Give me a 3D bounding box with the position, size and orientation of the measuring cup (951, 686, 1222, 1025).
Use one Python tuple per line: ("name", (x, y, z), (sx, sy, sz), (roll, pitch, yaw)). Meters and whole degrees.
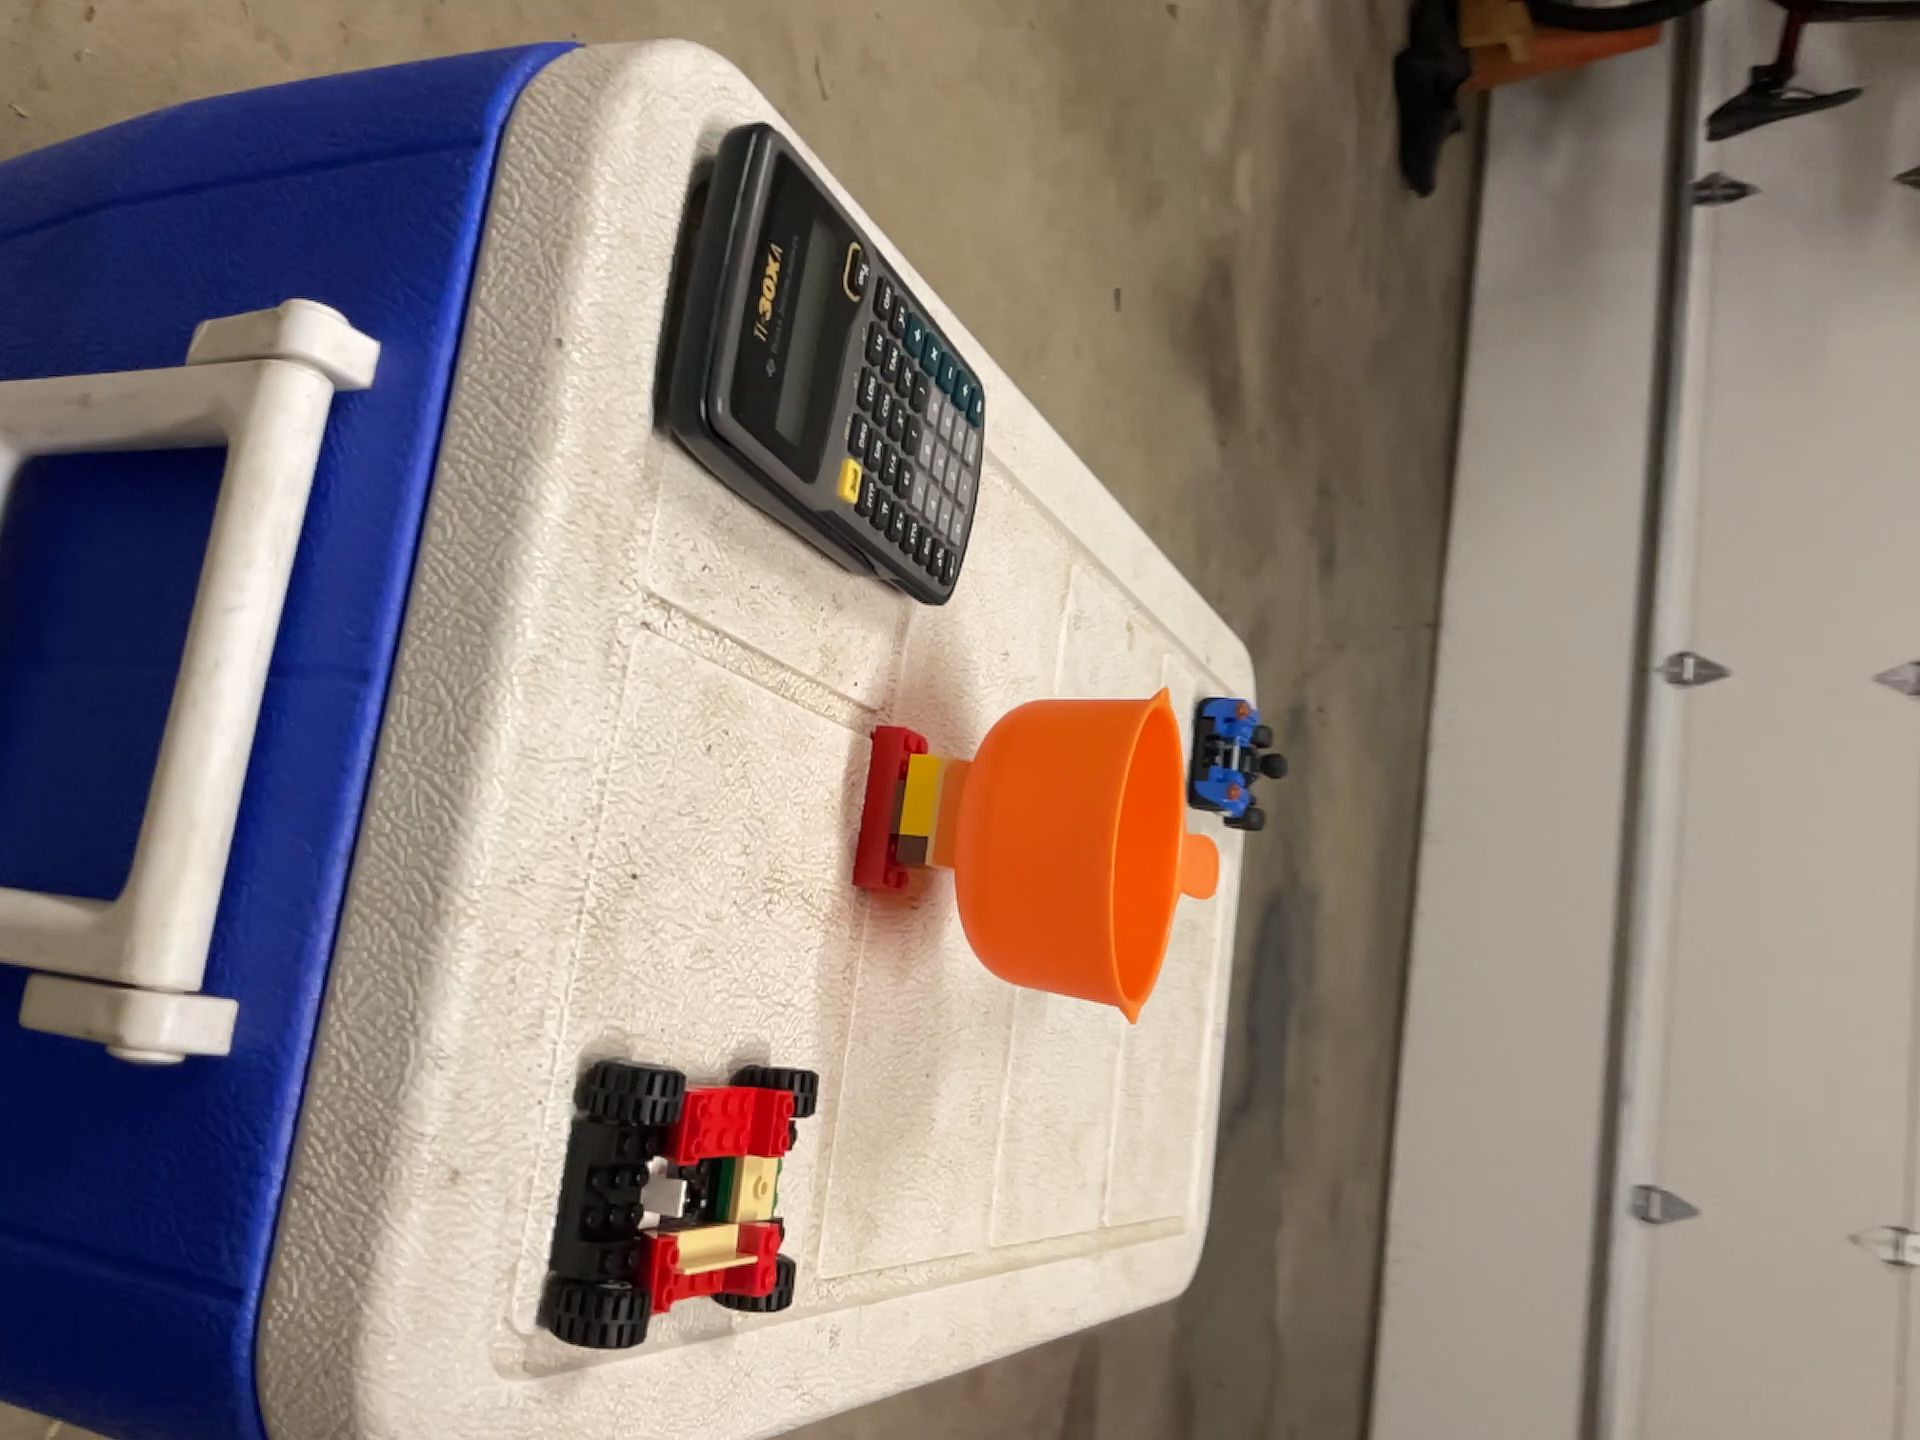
("measuring cup", (0.045, 0.042, 0.497), (0.173, 0.052, 0.095), (24, 72, -70))
